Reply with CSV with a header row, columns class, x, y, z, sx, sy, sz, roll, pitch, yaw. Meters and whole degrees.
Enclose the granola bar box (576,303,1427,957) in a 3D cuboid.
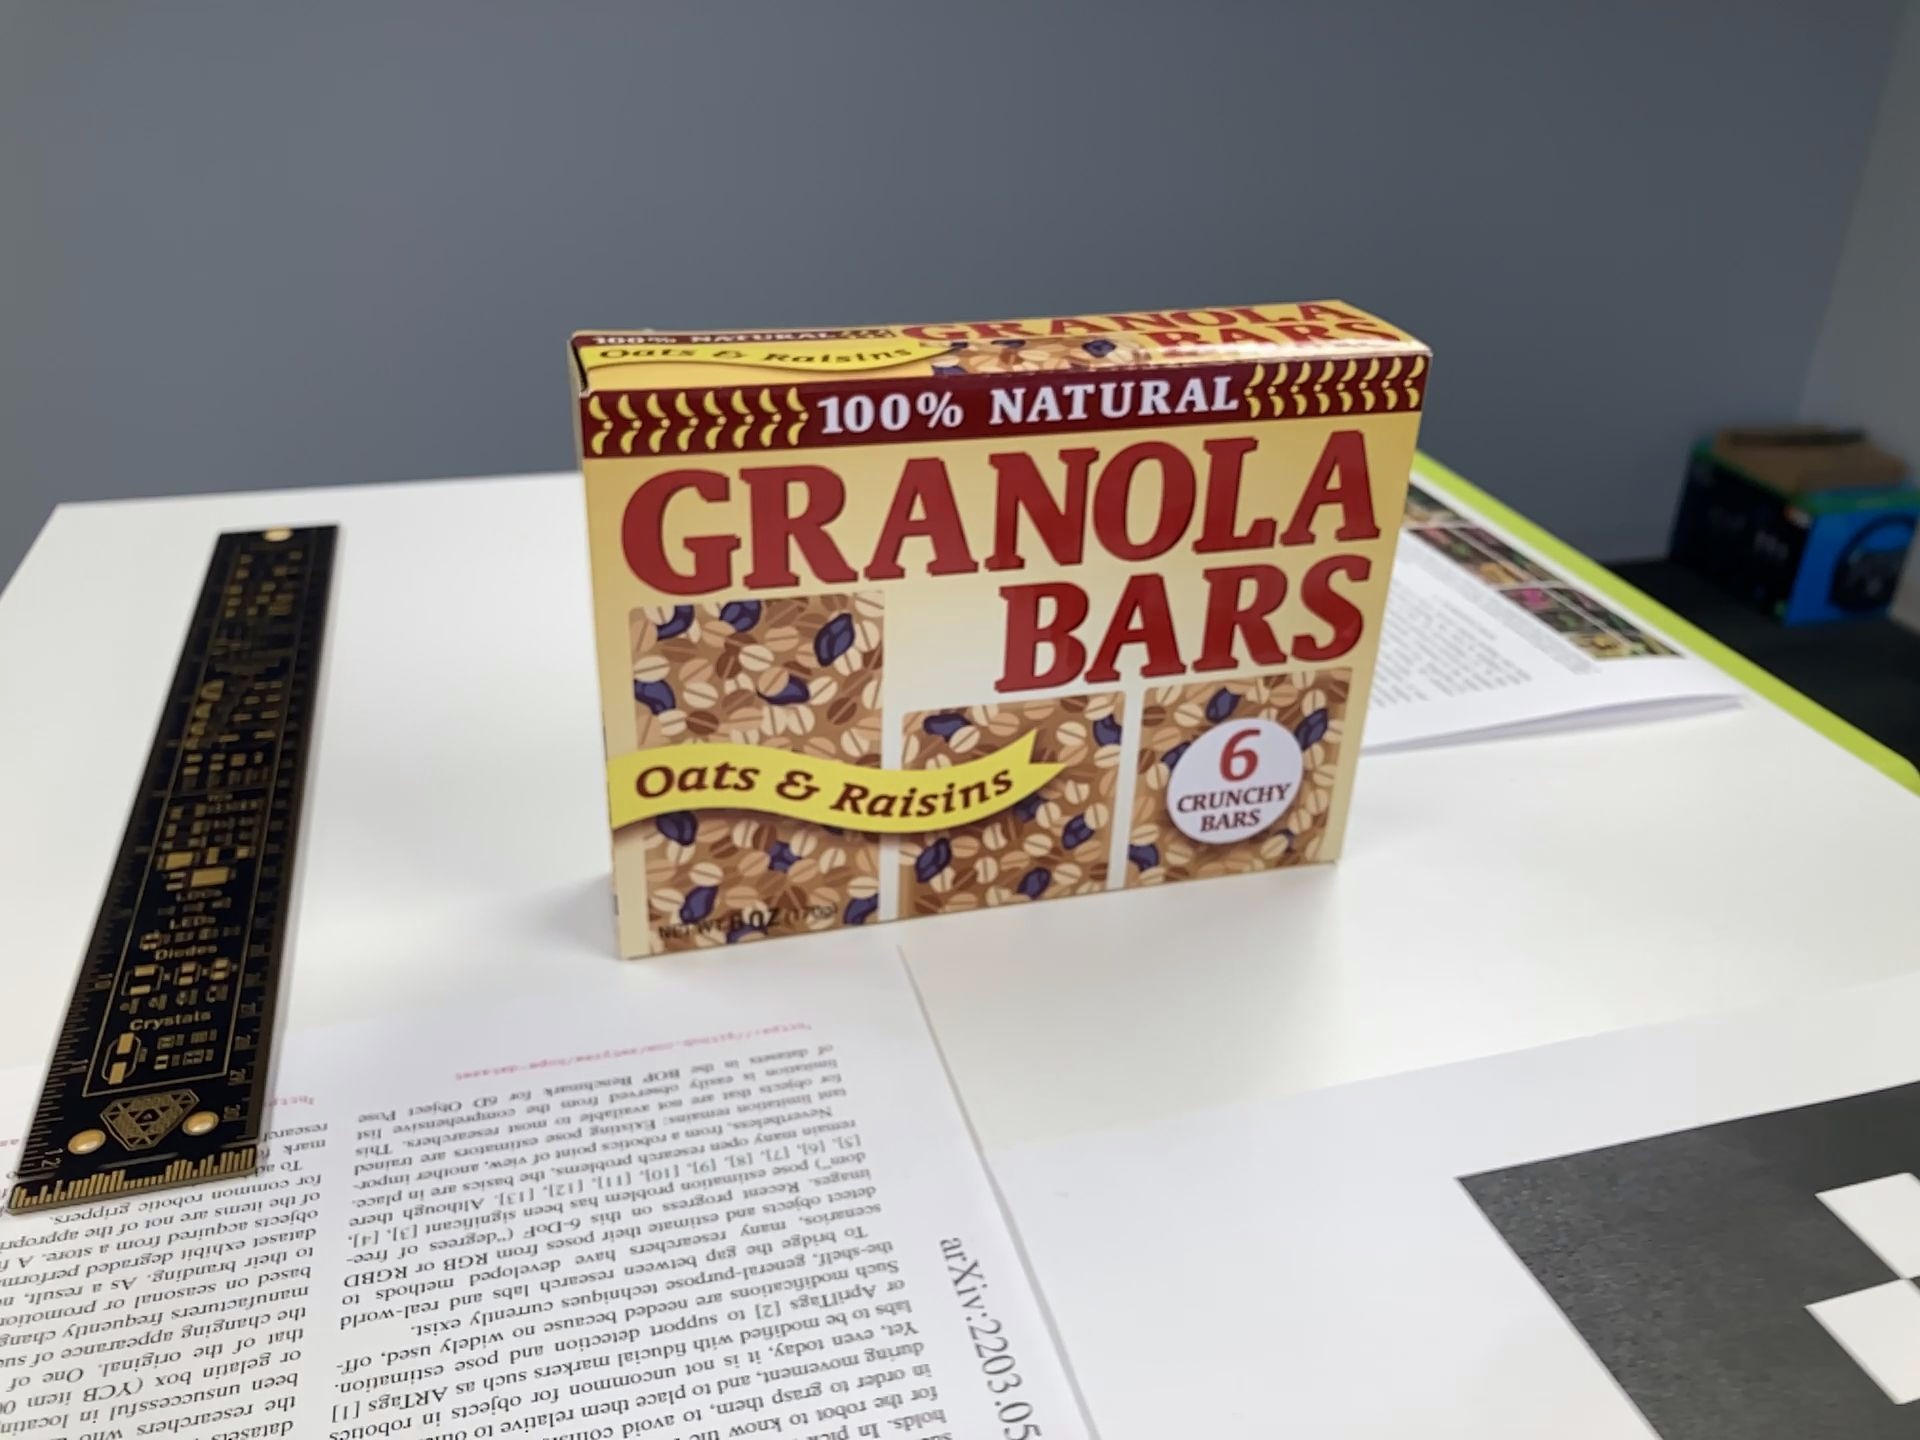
class,x,y,z,sx,sy,sz,roll,pitch,yaw
granola bar box,0.007,-0.021,0.343,0.165,0.124,0.039,-6,30,-15
